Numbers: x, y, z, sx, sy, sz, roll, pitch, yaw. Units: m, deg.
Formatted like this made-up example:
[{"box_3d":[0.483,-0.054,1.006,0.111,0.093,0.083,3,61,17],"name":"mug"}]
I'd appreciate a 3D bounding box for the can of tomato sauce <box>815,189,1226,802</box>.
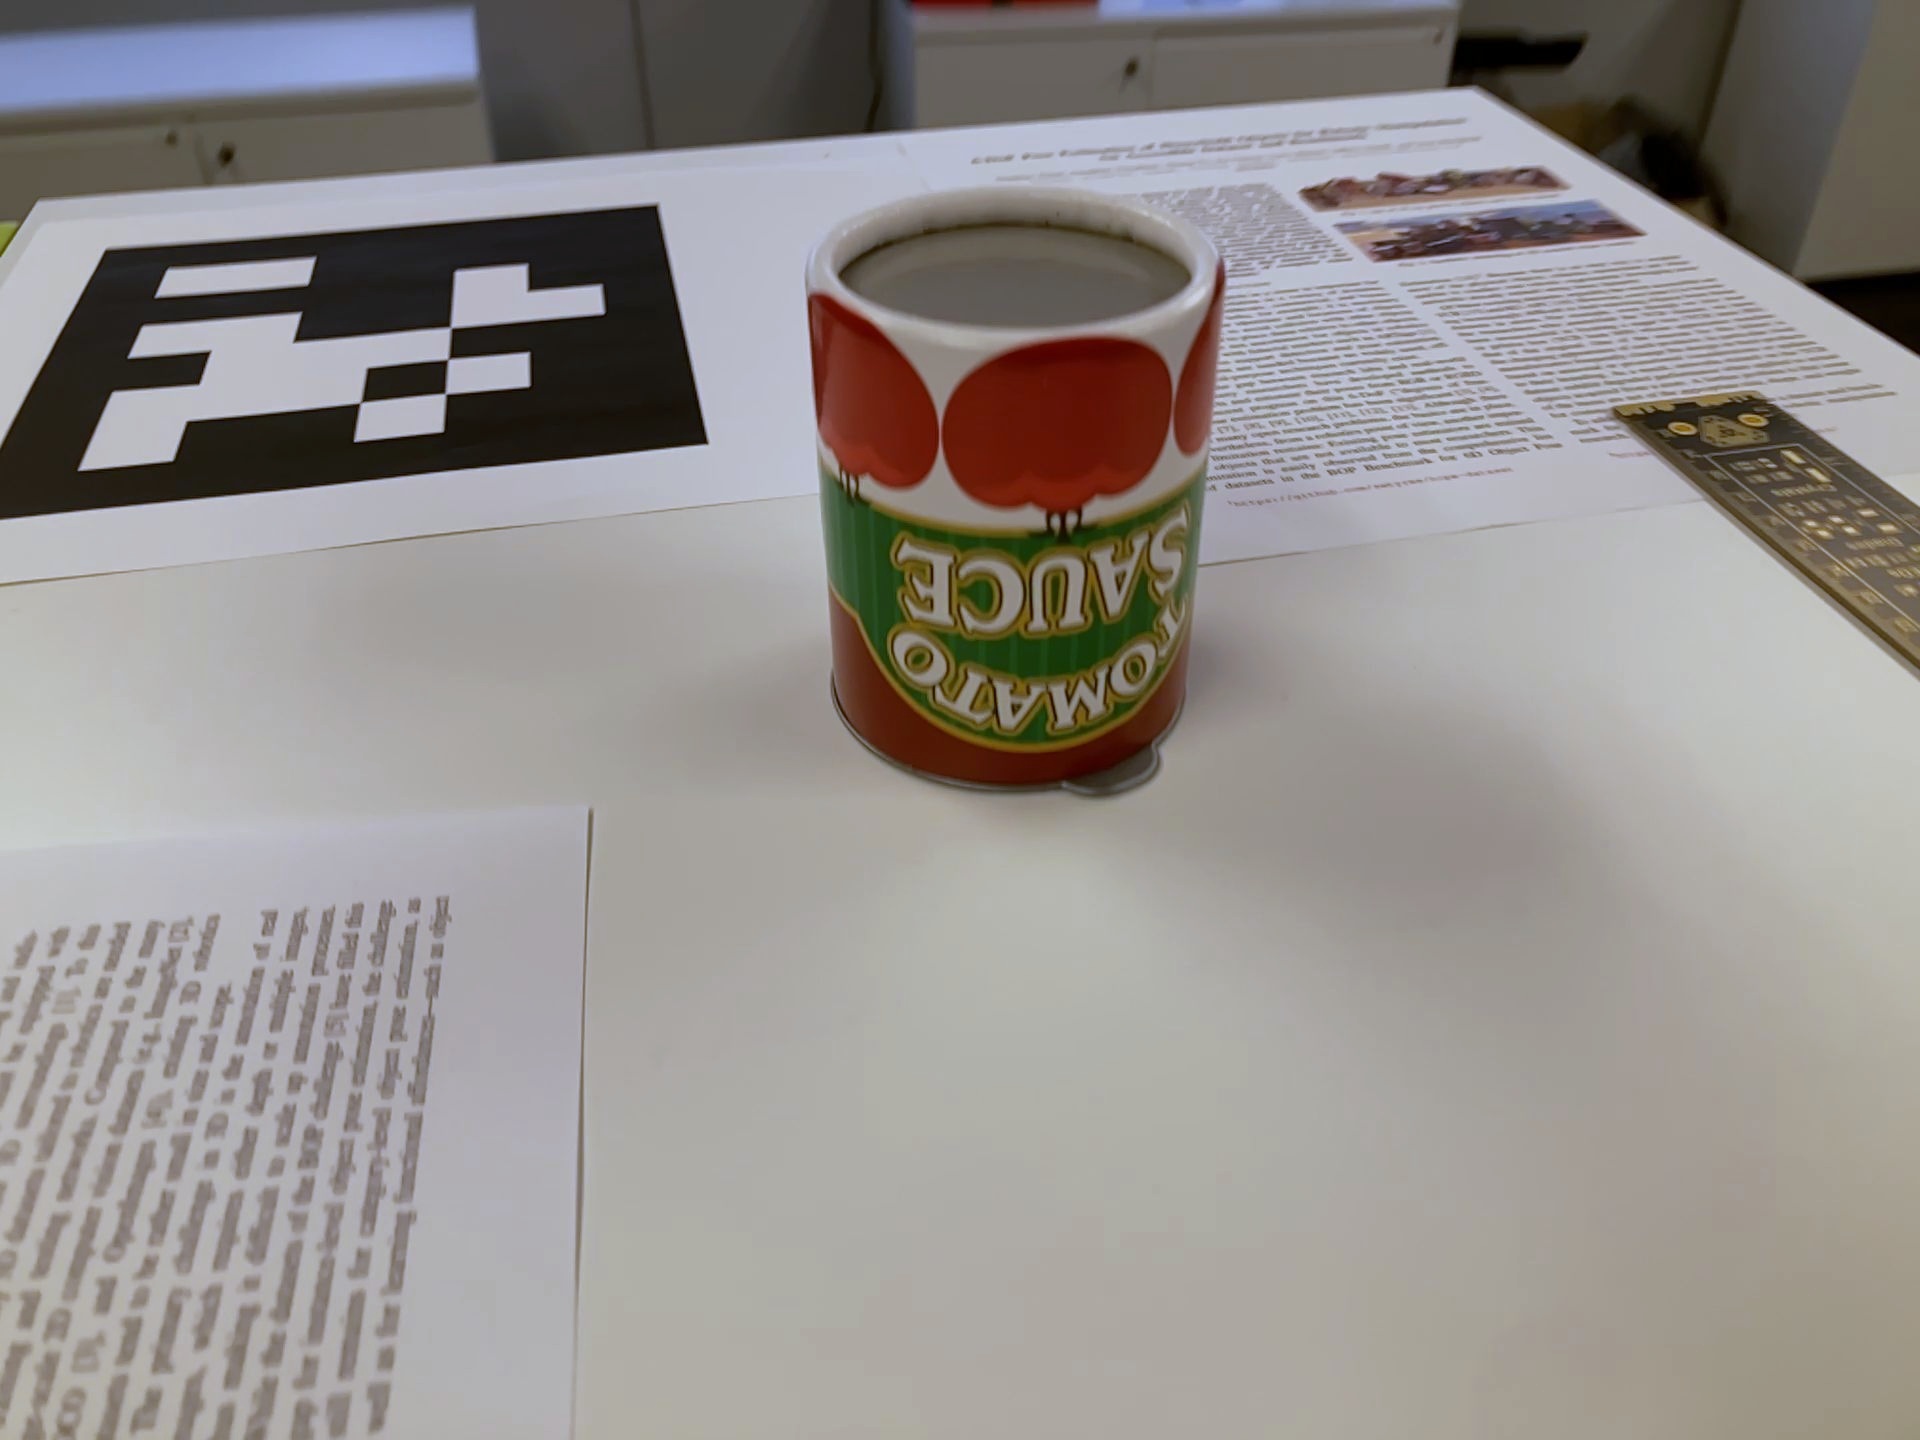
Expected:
[{"box_3d":[0.009,-0.039,0.272,0.071,0.083,0.071,1,37,-1],"name":"can of tomato sauce"}]
